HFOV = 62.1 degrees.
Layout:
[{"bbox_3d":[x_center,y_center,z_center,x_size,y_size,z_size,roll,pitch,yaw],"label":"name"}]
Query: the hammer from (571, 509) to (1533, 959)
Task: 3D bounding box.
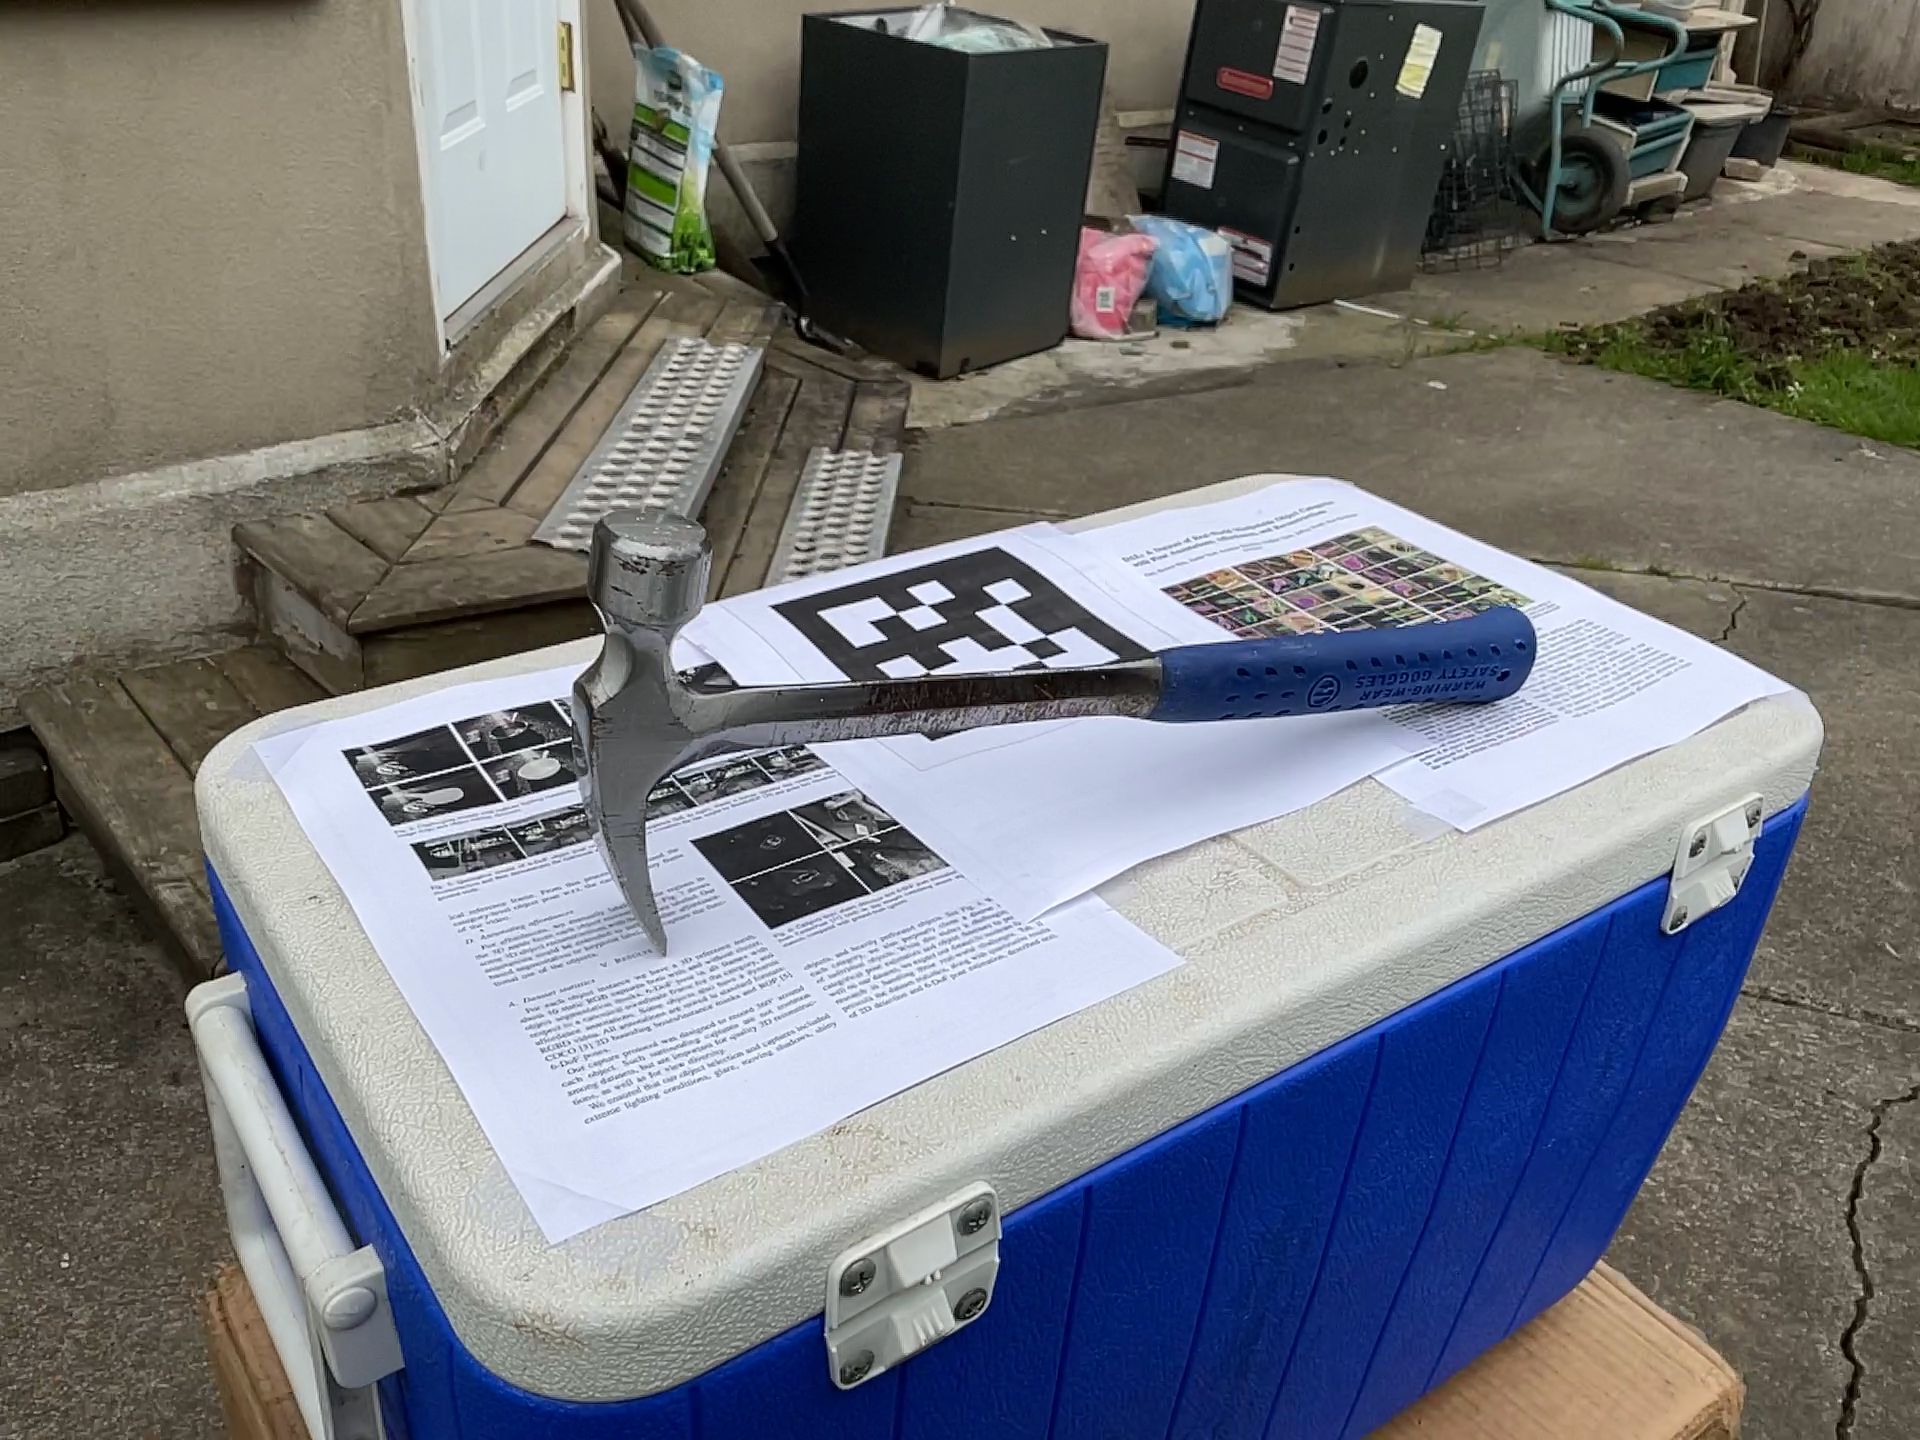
[{"bbox_3d":[0.057,-0.006,0.582,0.405,0.144,0.035,-5,32,-31],"label":"hammer"}]
